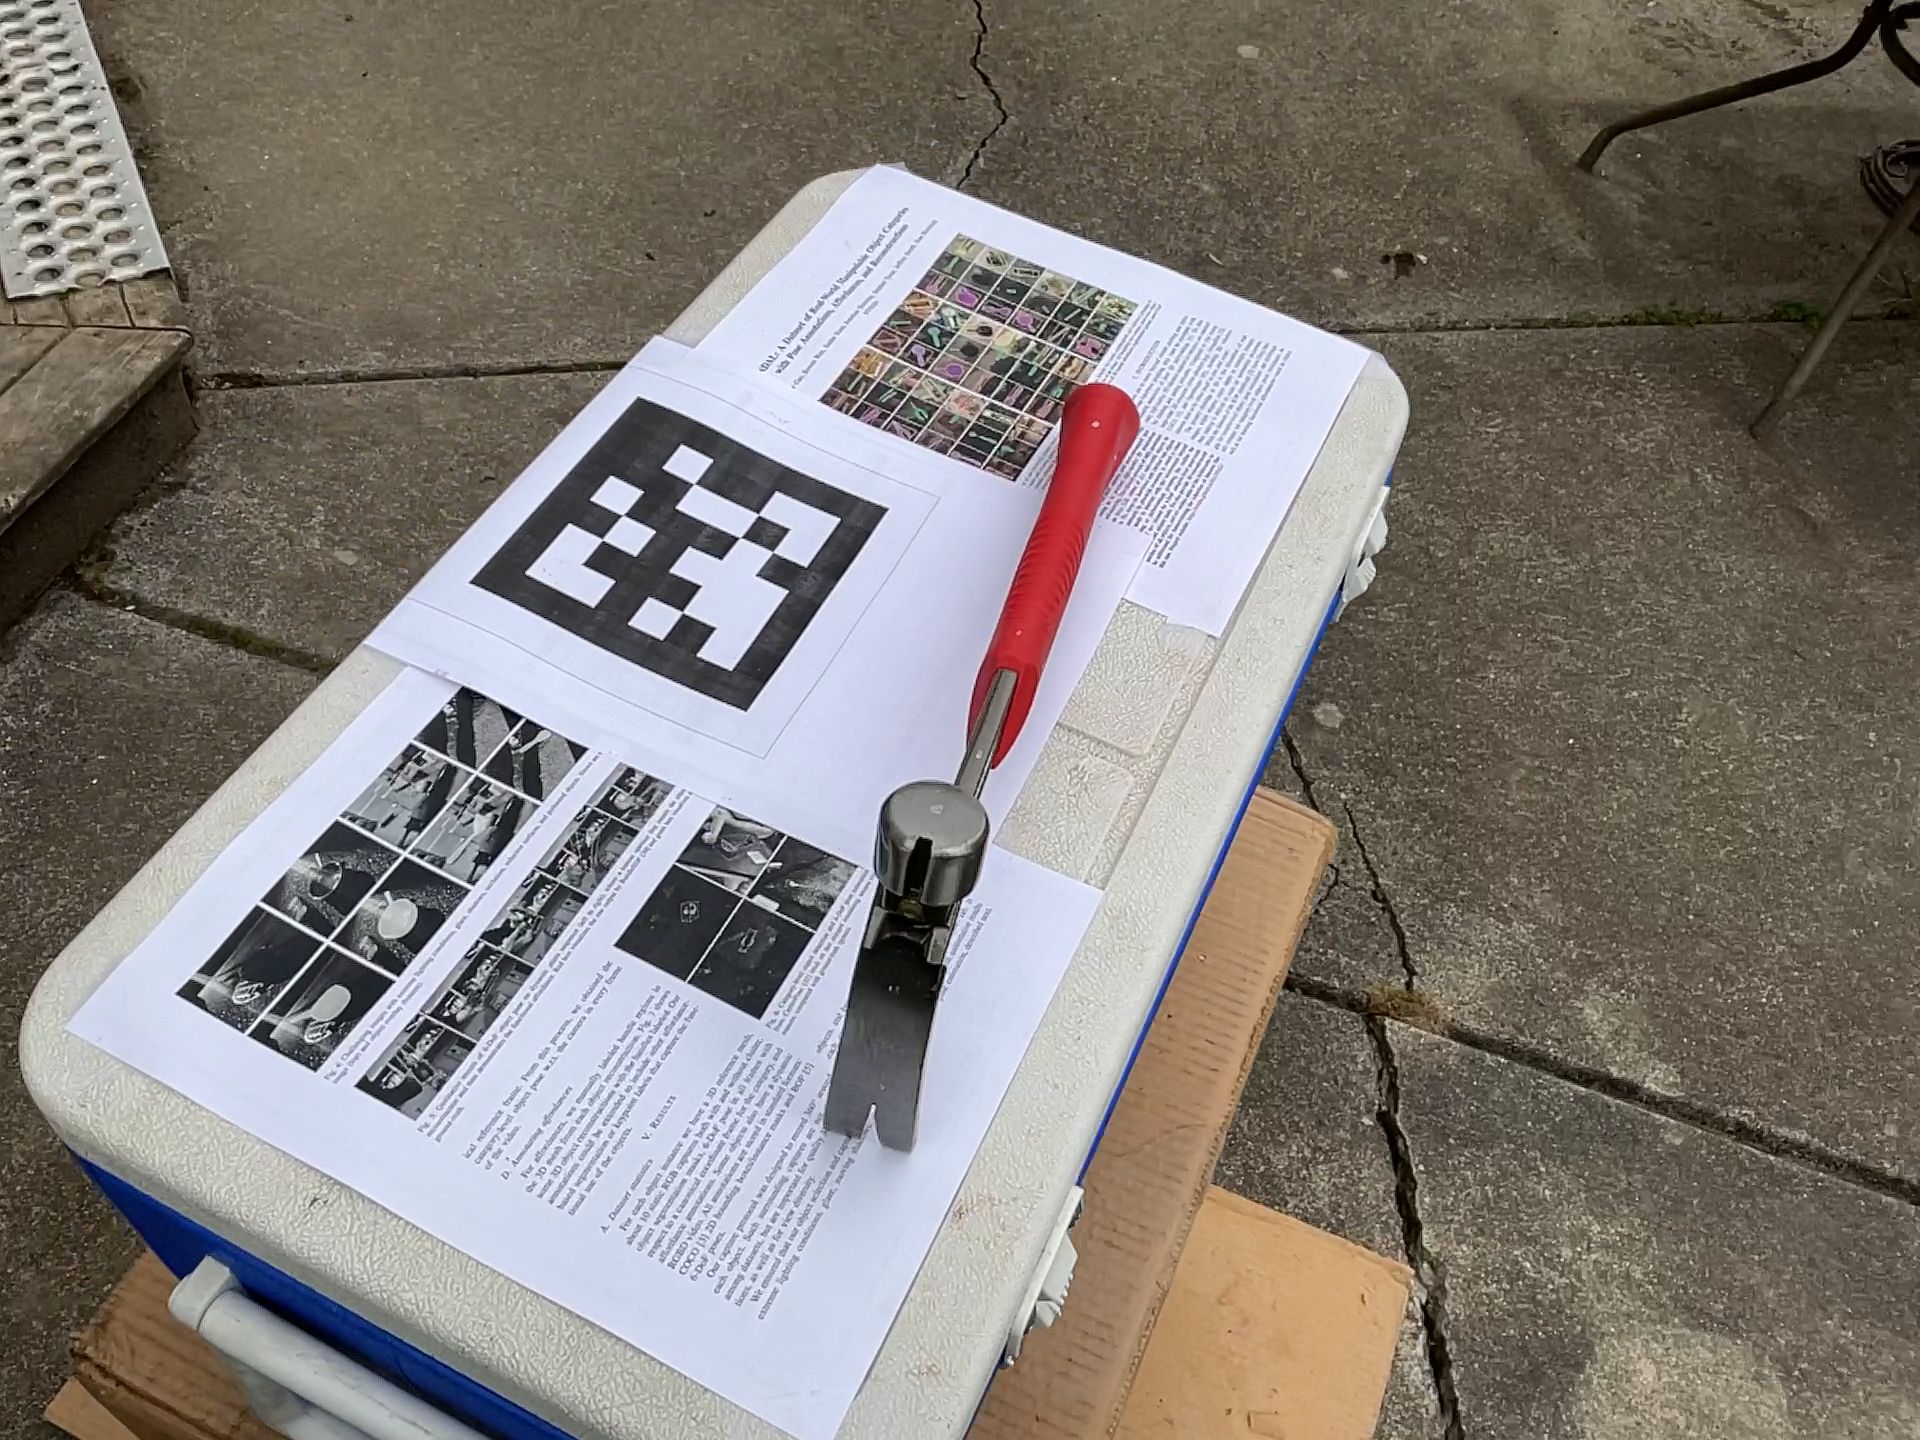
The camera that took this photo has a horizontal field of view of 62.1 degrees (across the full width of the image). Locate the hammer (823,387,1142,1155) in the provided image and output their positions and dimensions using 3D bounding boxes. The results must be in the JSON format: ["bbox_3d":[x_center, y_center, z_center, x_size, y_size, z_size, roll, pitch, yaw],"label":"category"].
[{"bbox_3d":[0.021,-0.017,0.607,0.036,0.149,0.359,16,41,5],"label":"hammer"}]
